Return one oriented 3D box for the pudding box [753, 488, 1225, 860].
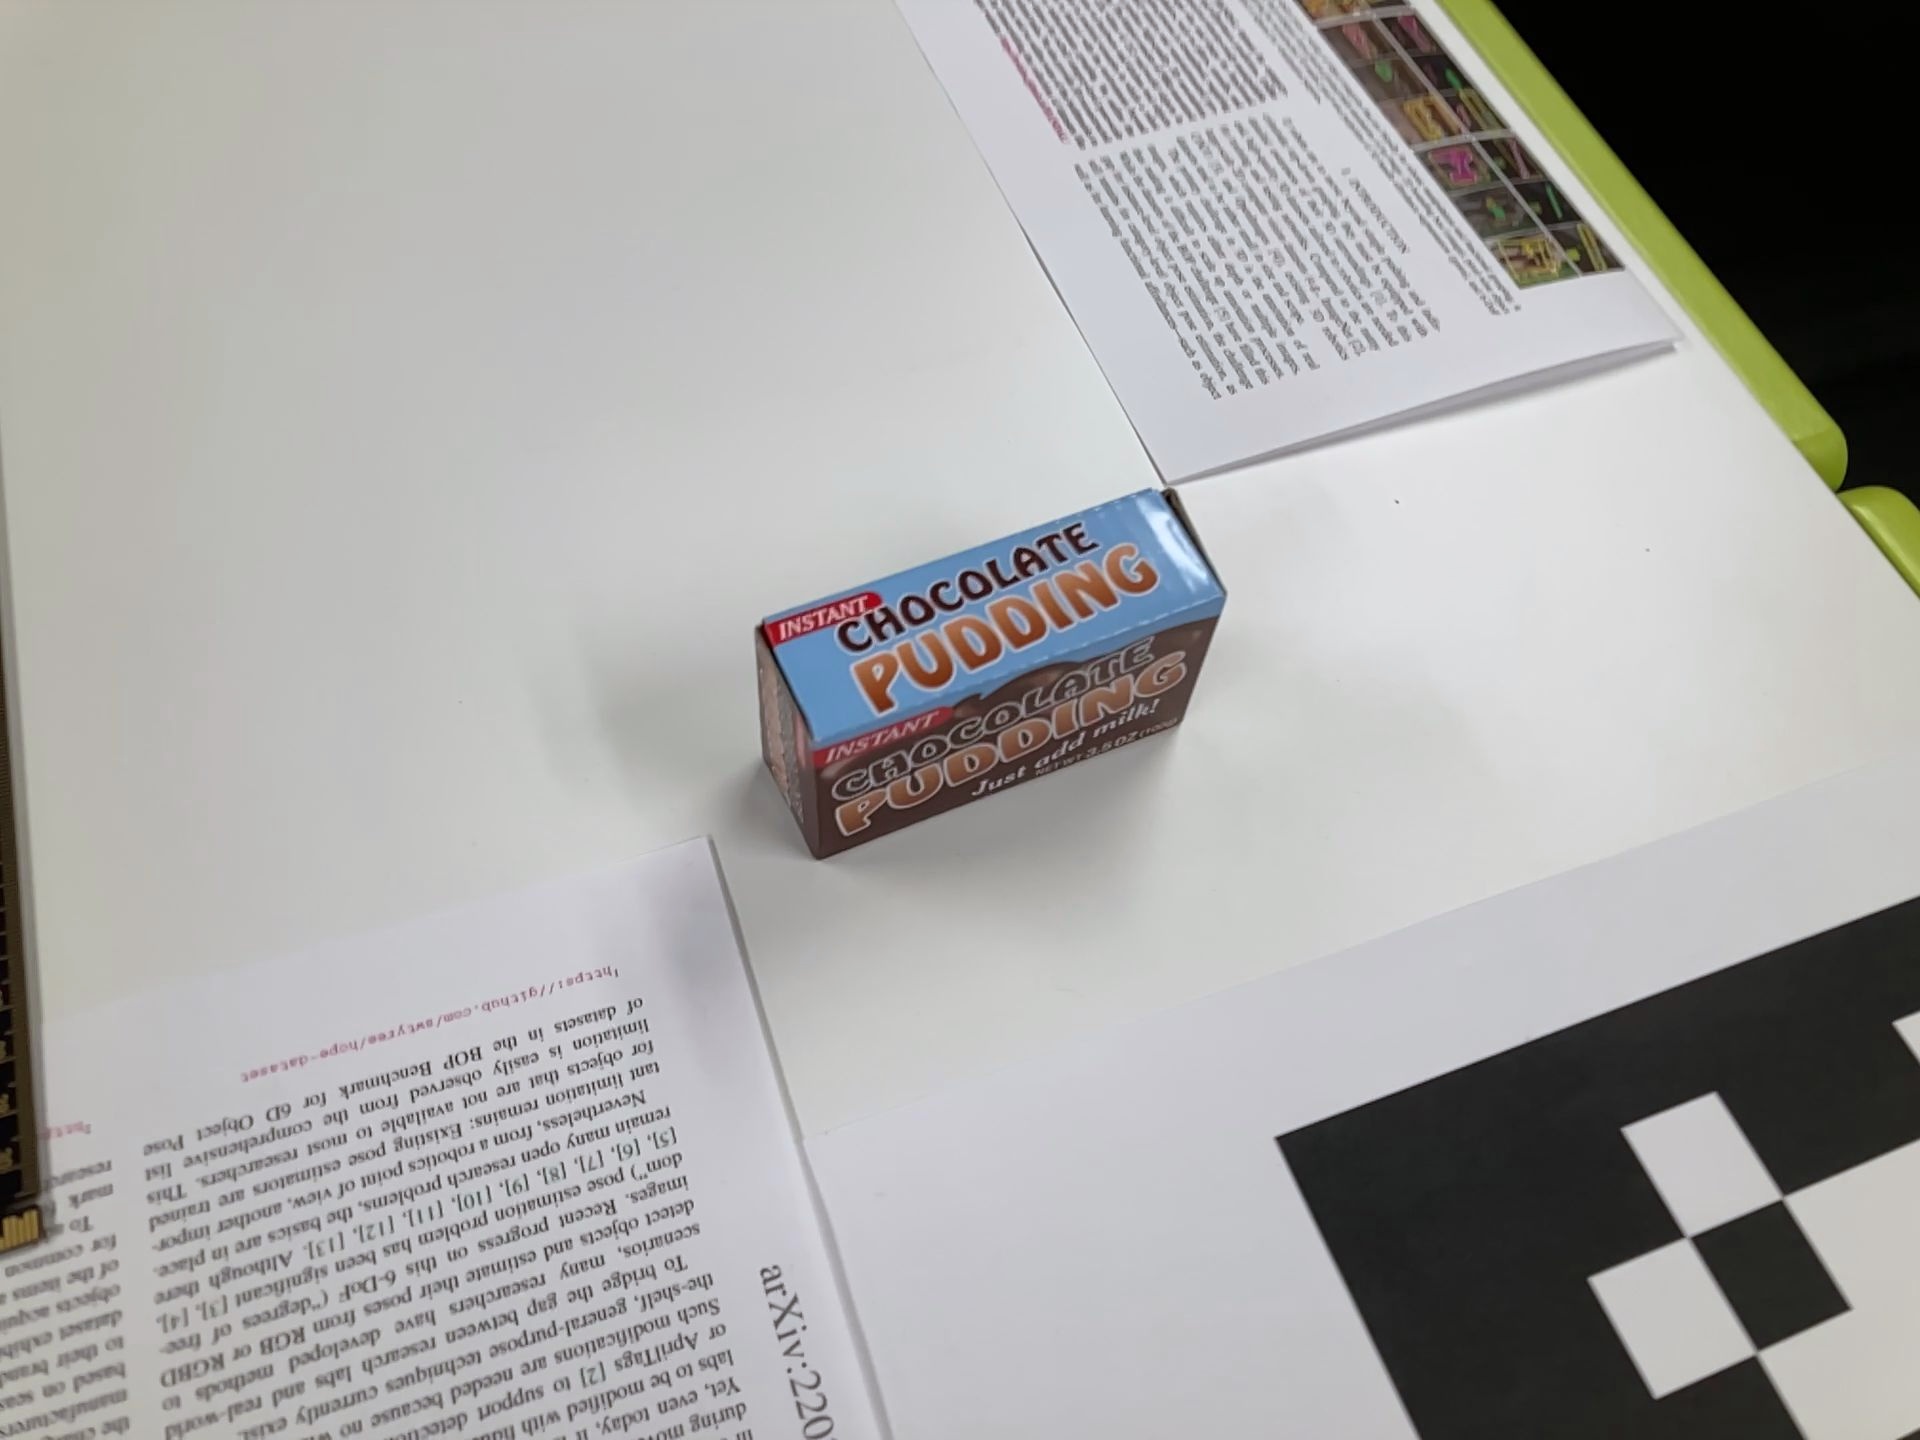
[{"bbox_3d":[0.005,-0.009,0.303,0.083,0.049,0.030,-19,63,-15],"label":"pudding box"}]
